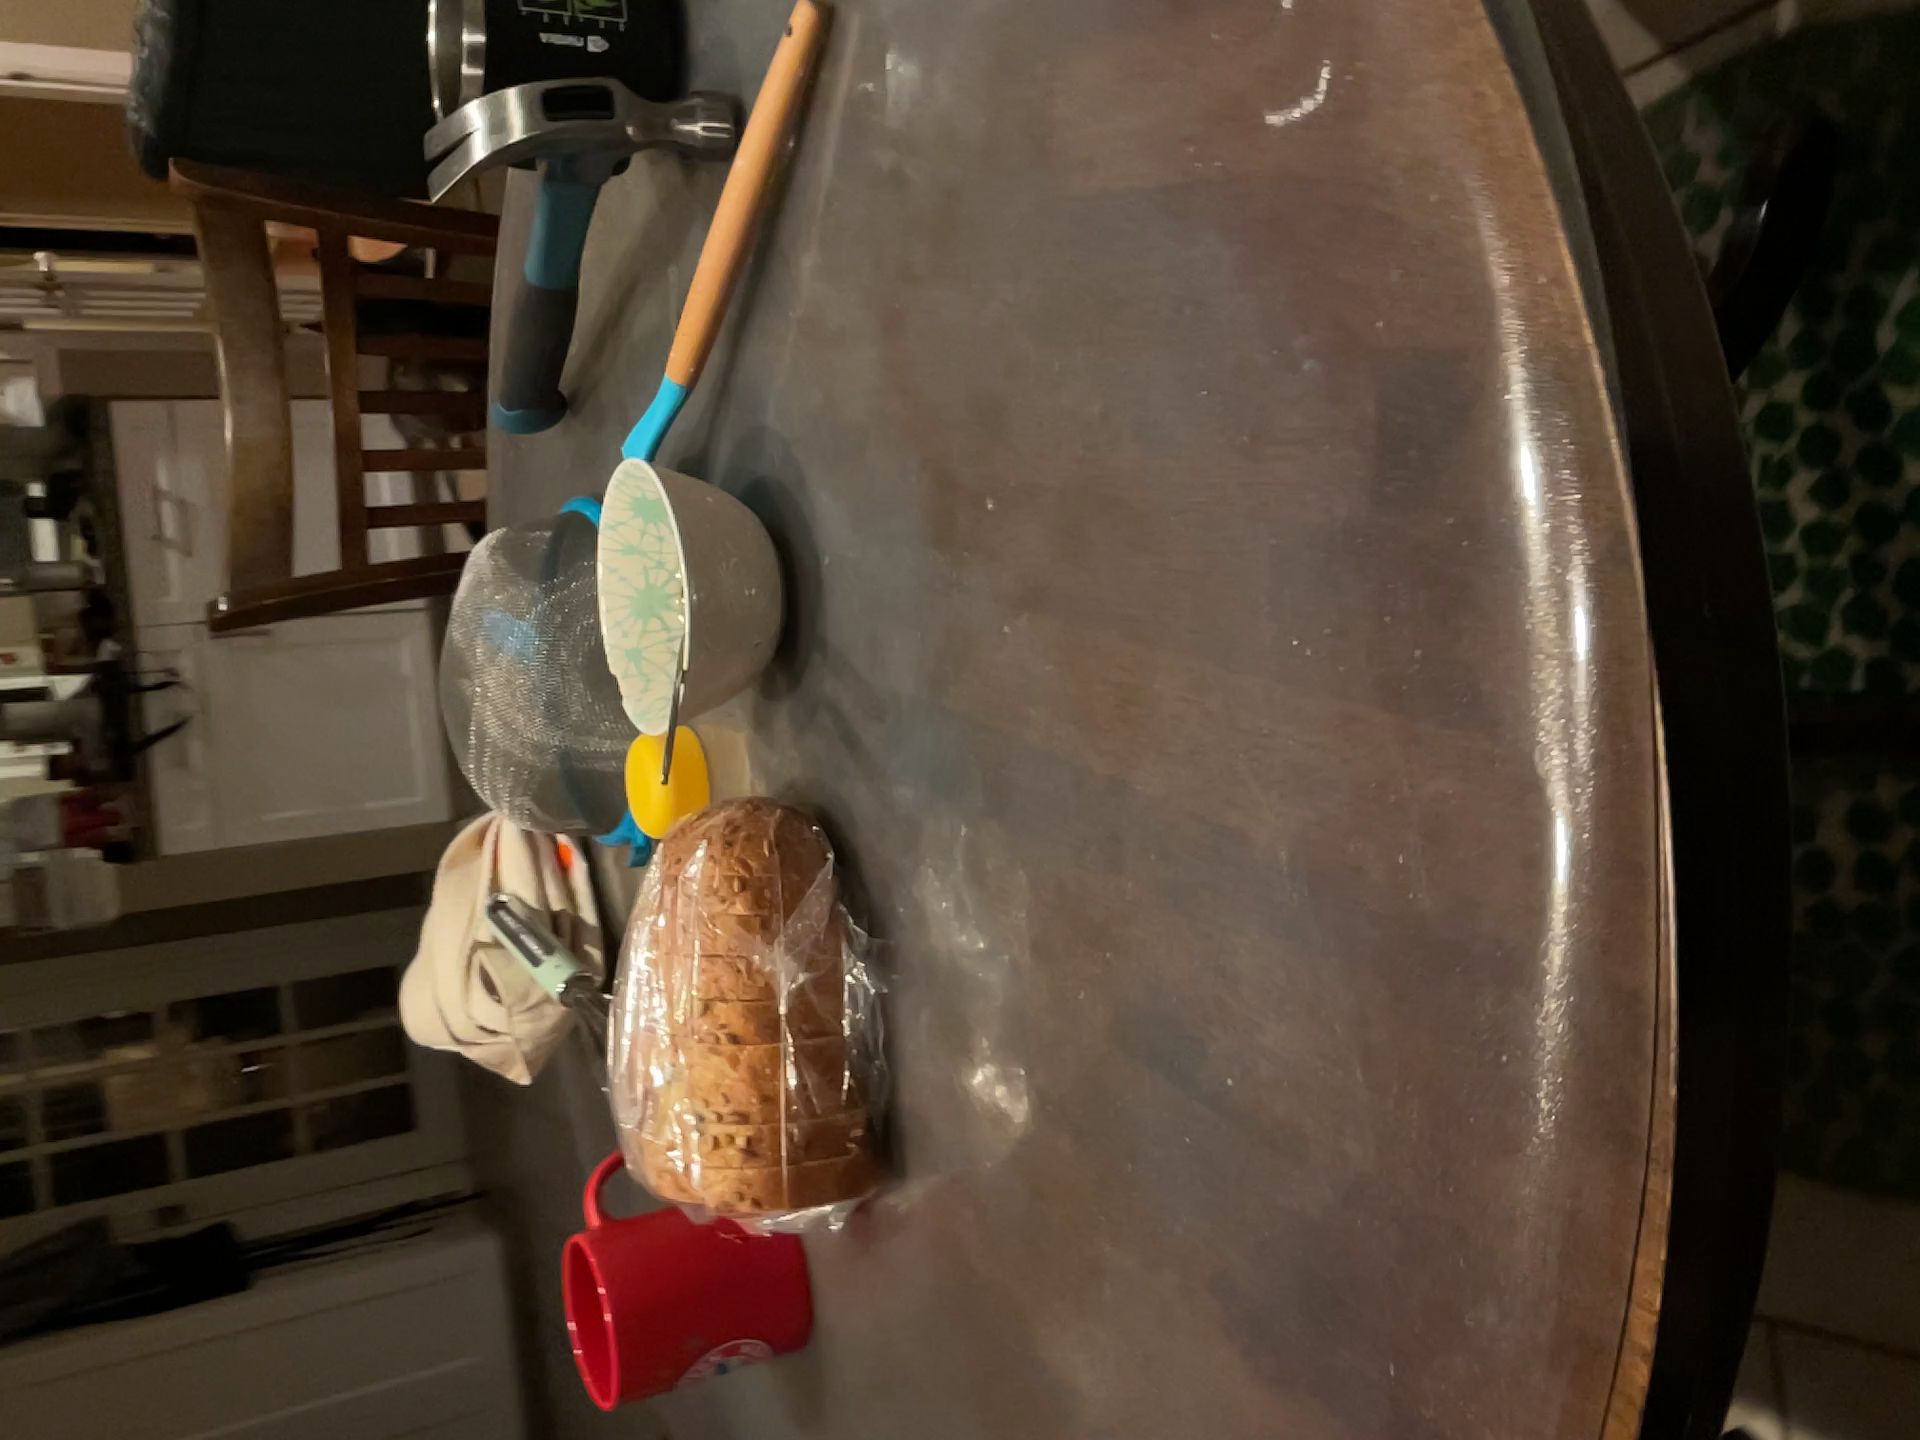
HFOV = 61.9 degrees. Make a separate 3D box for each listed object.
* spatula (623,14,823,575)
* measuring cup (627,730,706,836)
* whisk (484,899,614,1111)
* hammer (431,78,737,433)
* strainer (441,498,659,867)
[{"bbox_3d":[-0.113,-0.175,0.739,0.317,0.044,0.082,-58,45,42],"label":"spatula"},{"bbox_3d":[-0.170,0.071,0.873,0.062,0.029,0.156,57,140,39],"label":"measuring cup"},{"bbox_3d":[-0.222,0.162,0.934,0.246,0.058,0.059,29,151,46],"label":"whisk"},{"bbox_3d":[-0.210,-0.227,0.837,0.331,0.128,0.033,144,119,-67],"label":"hammer"},{"bbox_3d":[-0.285,-0.036,0.996,0.340,0.095,0.211,19,110,54],"label":"strainer"}]
